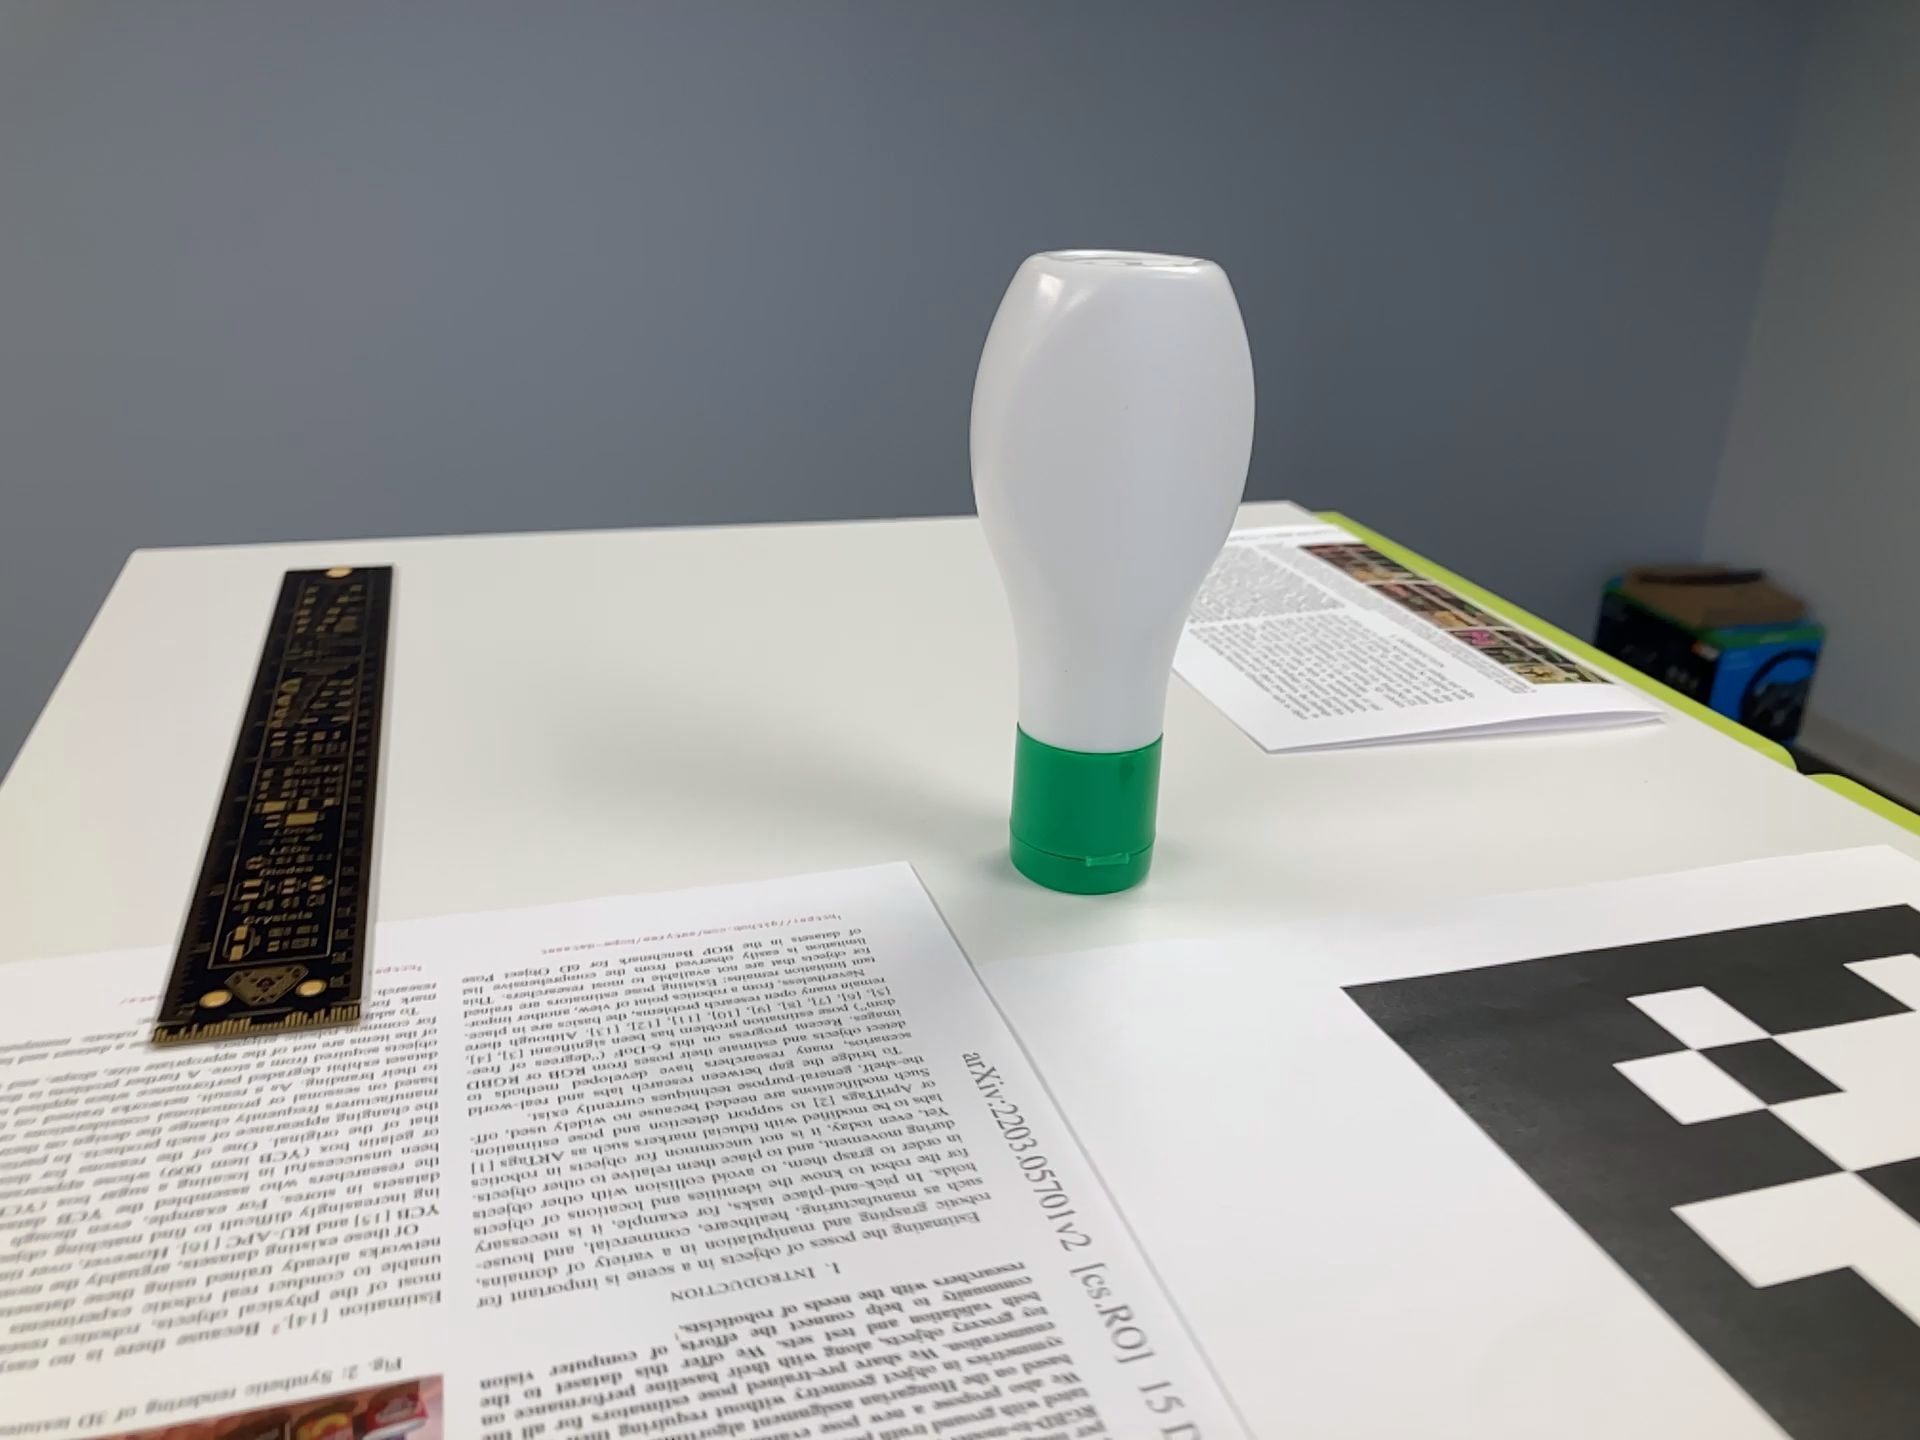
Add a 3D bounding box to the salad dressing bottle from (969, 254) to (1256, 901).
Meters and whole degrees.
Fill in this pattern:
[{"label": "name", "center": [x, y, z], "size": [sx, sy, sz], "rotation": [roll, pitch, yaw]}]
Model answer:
[{"label": "salad dressing bottle", "center": [0.033, -0.031, 0.371], "size": [0.064, 0.147, 0.044], "rotation": [-4, 22, -15]}]
